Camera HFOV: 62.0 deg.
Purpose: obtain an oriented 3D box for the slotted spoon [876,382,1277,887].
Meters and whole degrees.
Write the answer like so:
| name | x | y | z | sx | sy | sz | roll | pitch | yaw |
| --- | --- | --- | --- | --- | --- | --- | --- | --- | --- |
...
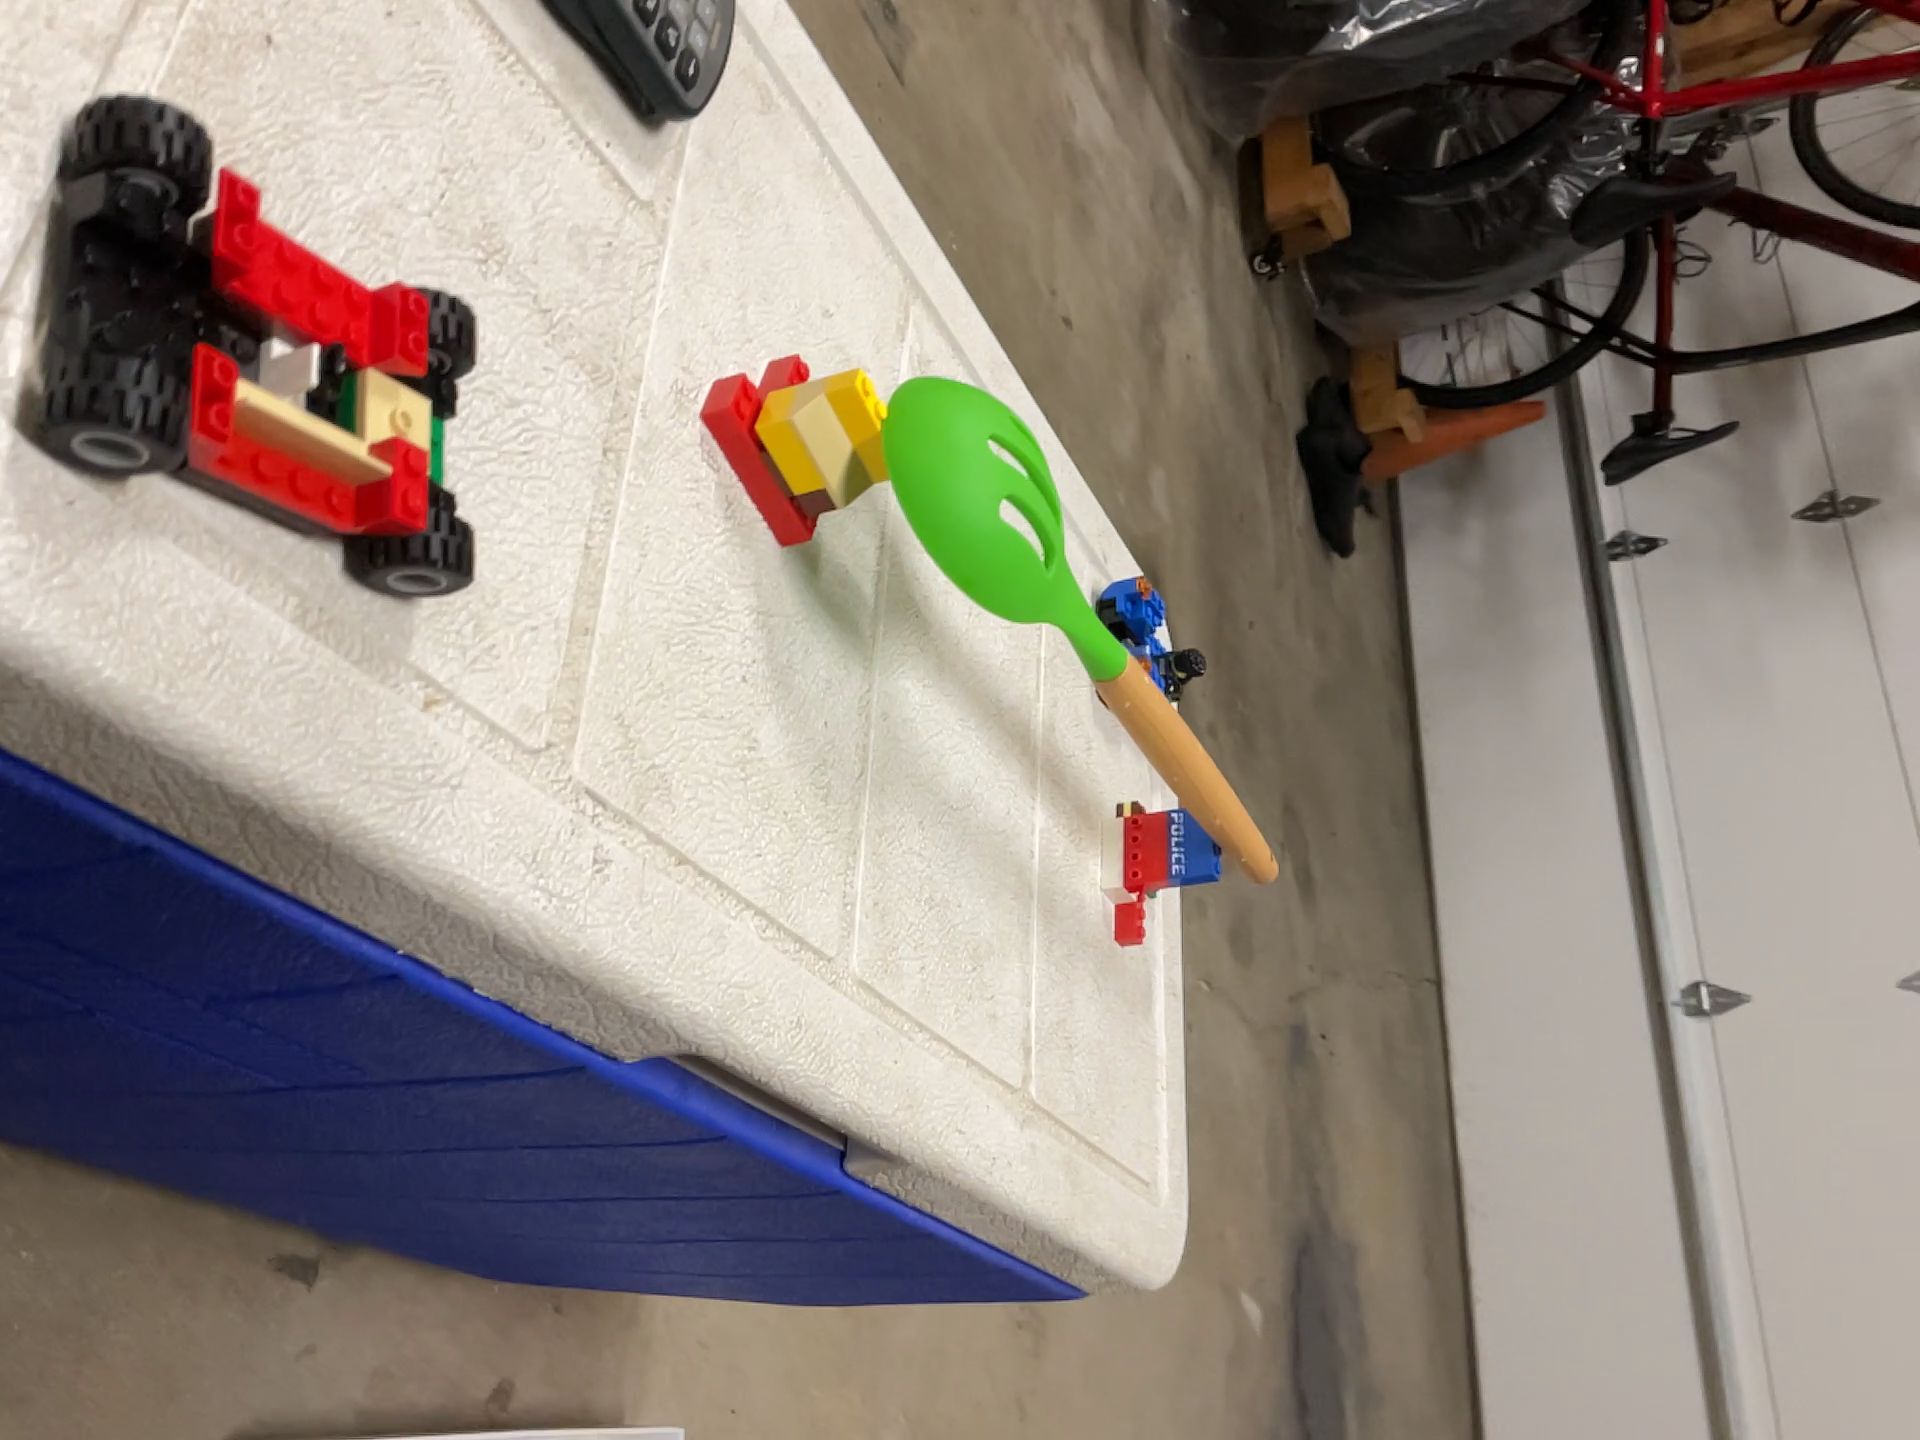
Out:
| name | x | y | z | sx | sy | sz | roll | pitch | yaw |
| --- | --- | --- | --- | --- | --- | --- | --- | --- | --- |
| slotted spoon | 0.059 | -0.009 | 0.544 | 0.313 | 0.031 | 0.070 | 47 | 38 | -51 |
